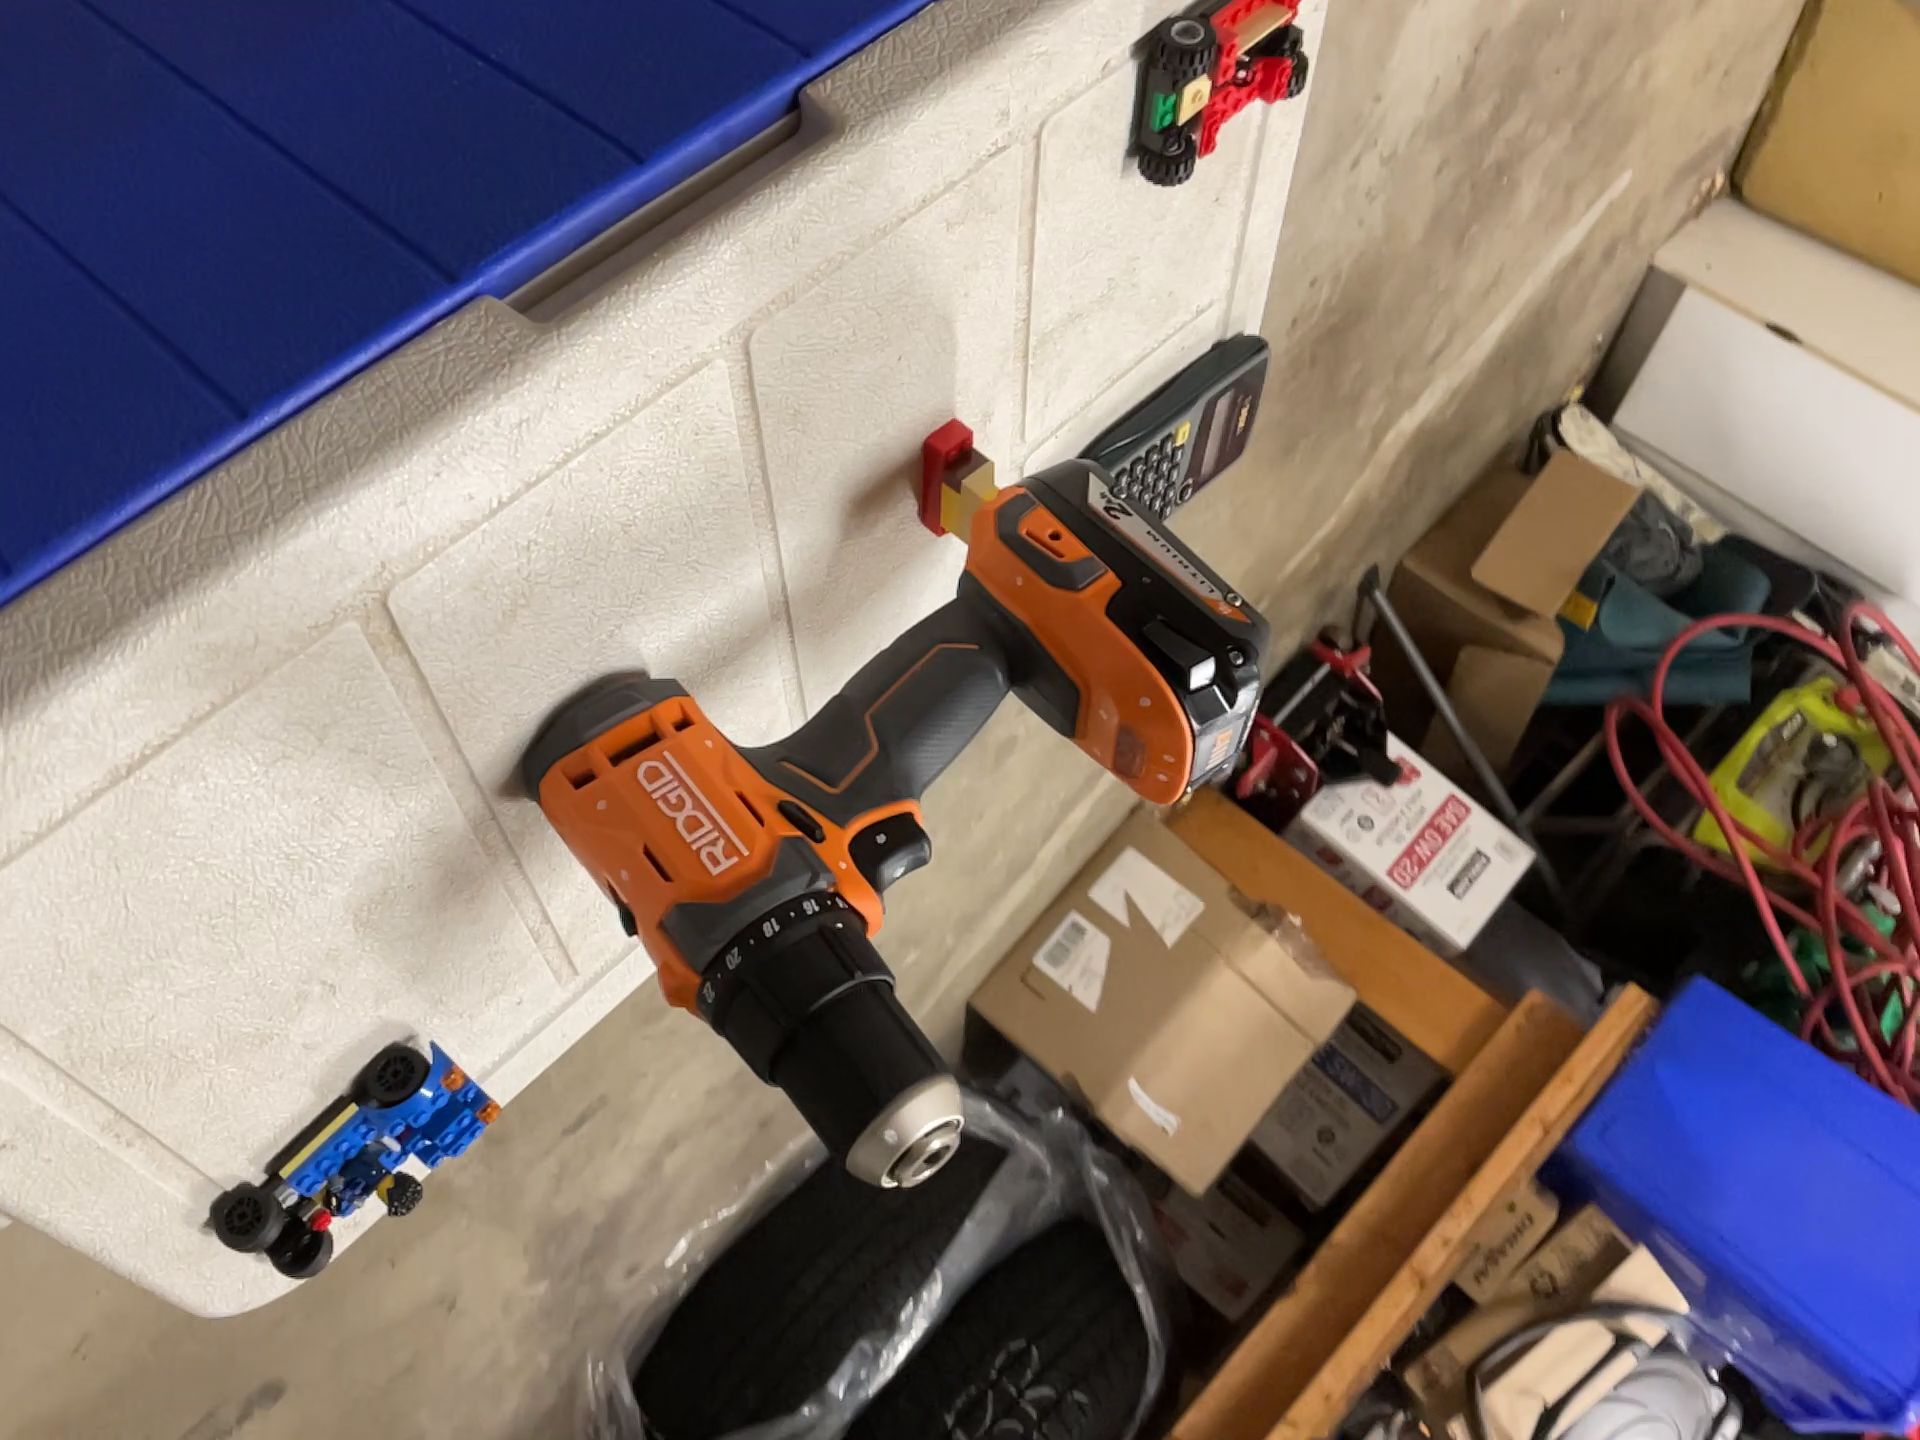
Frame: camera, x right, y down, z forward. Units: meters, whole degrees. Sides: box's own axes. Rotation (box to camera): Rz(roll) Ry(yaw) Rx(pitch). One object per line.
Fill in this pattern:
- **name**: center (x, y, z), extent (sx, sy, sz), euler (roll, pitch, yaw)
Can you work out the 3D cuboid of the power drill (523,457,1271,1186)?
- **power drill**: center (-0.002, 0.025, 0.524), extent (0.226, 0.185, 0.084), euler (-31, 151, -22)
